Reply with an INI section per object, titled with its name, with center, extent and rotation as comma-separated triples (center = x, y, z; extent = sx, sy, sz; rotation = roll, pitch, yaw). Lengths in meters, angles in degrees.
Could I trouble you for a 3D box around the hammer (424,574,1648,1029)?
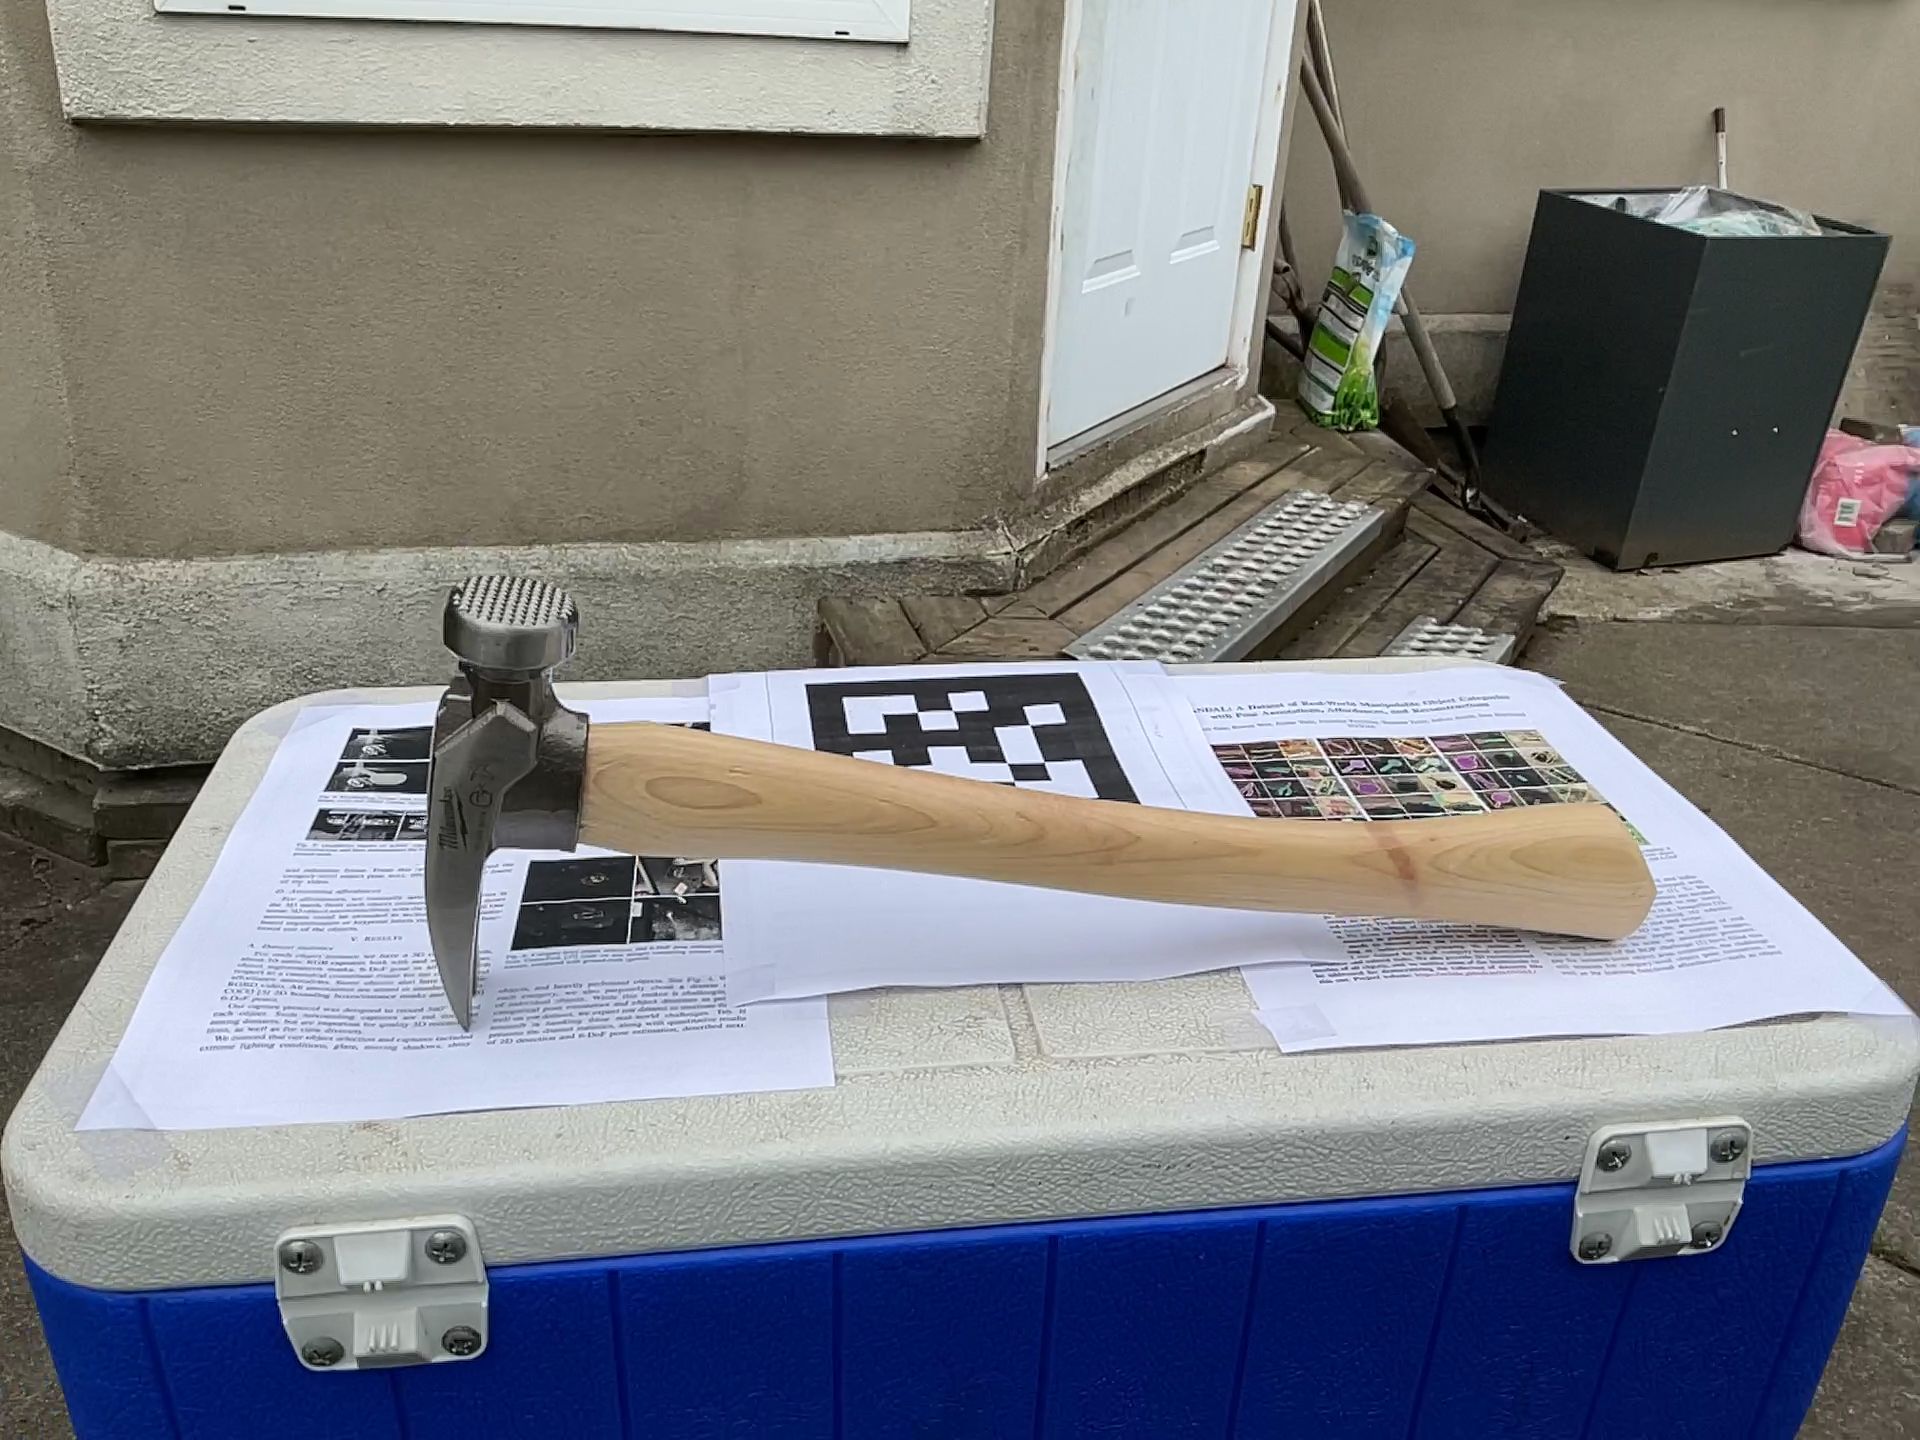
[hammer]
center = 0.036, 0.050, 0.536
extent = 0.410, 0.146, 0.038
rotation = 7, 25, -12
